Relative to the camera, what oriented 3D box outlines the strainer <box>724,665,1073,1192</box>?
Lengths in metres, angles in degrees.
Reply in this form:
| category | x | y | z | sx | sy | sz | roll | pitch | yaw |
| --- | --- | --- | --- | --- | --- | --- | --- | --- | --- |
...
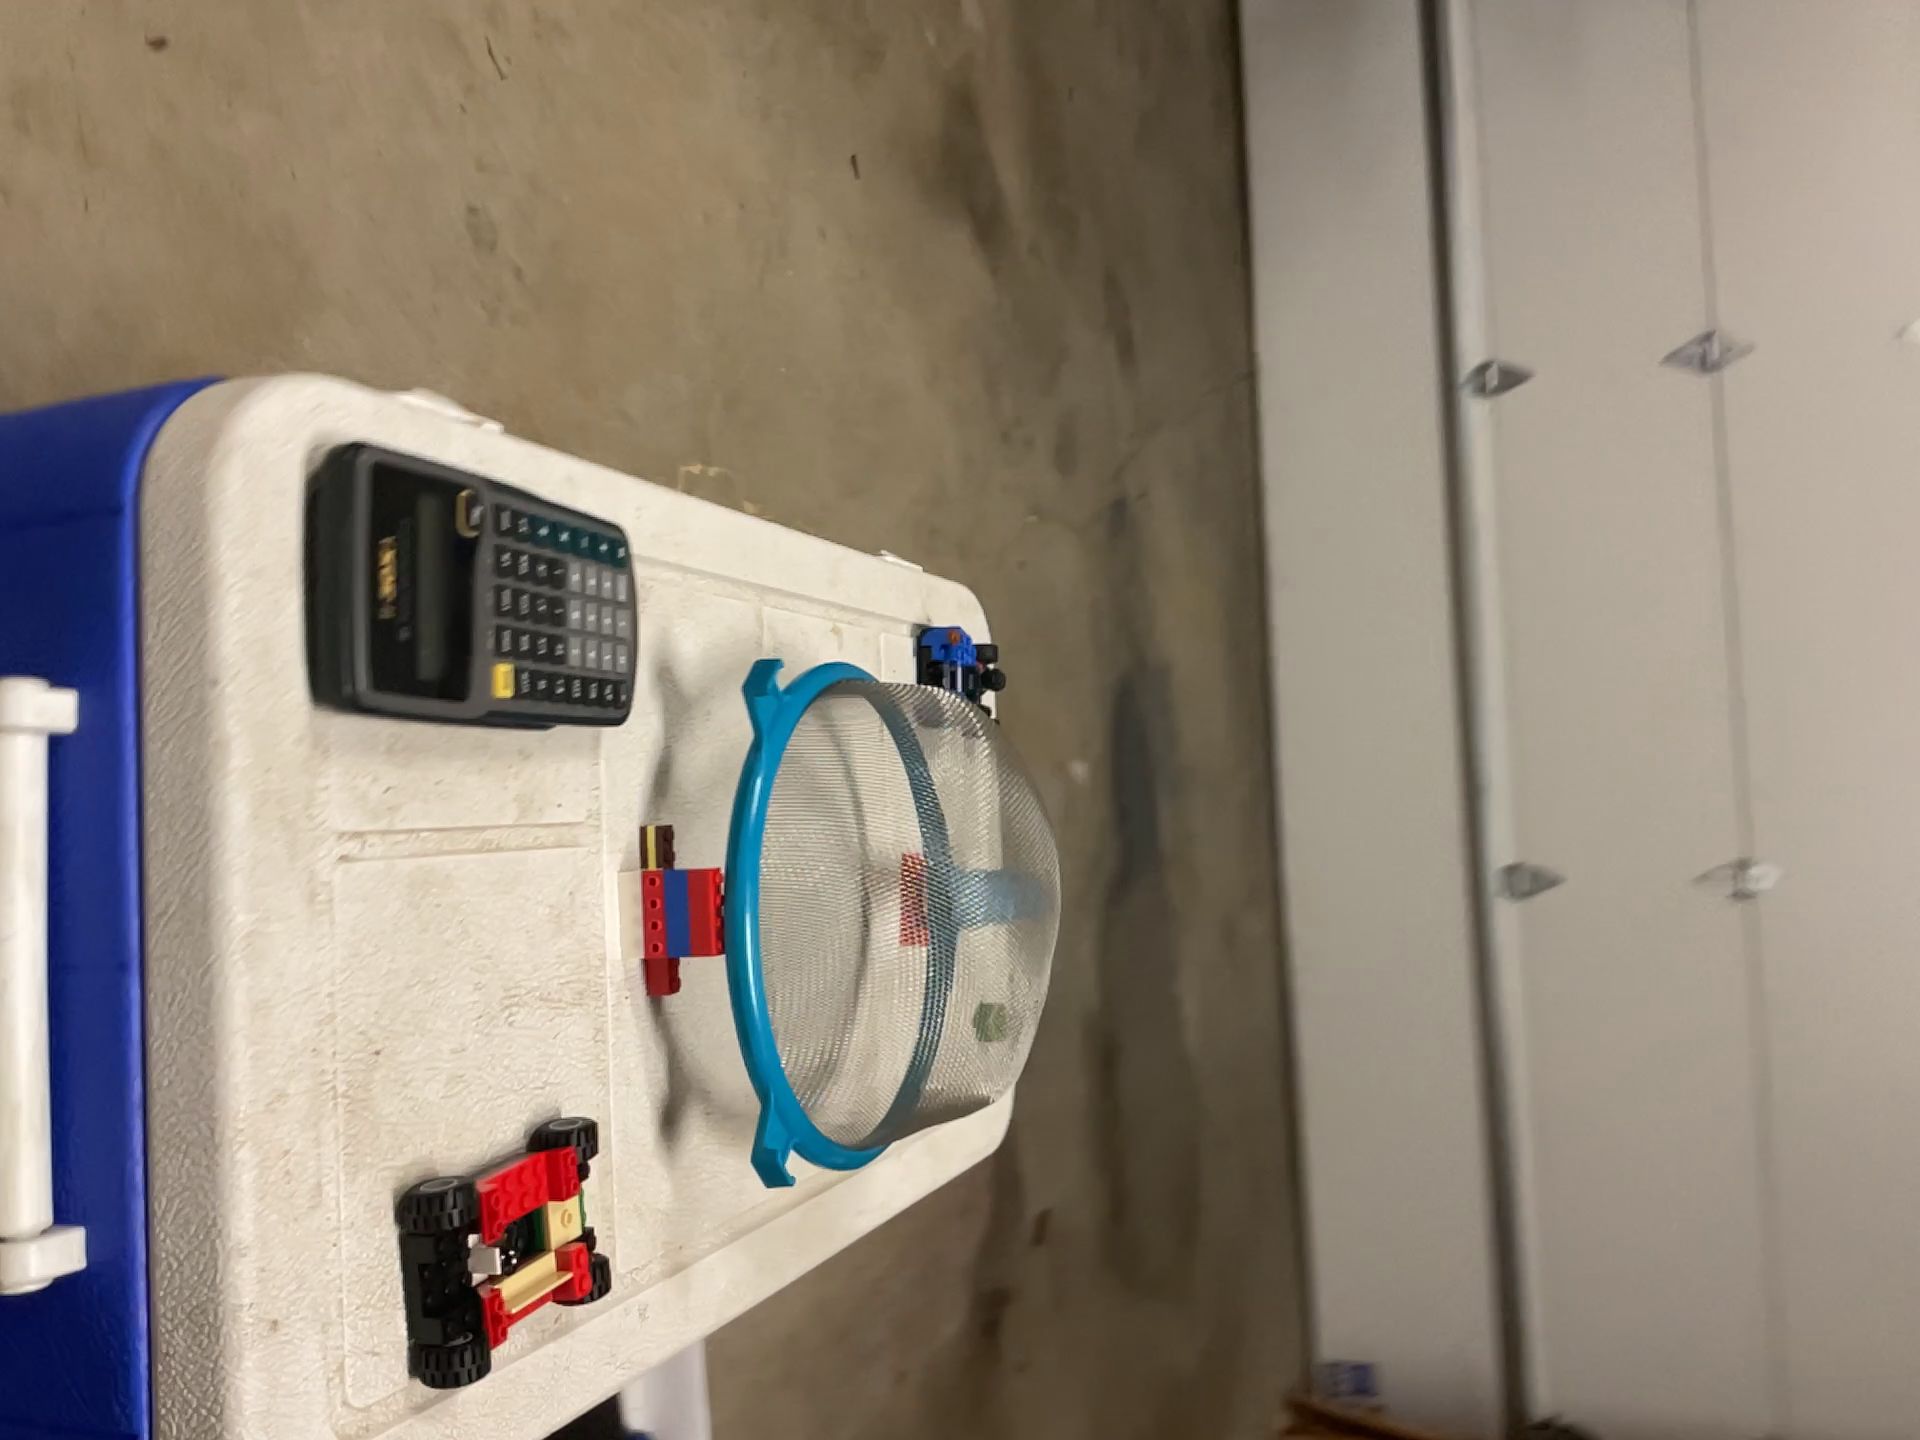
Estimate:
| category | x | y | z | sx | sy | sz | roll | pitch | yaw |
| --- | --- | --- | --- | --- | --- | --- | --- | --- | --- |
| strainer | 0.016 | 0.084 | 0.720 | 0.340 | 0.095 | 0.211 | 10 | 77 | -68 |
